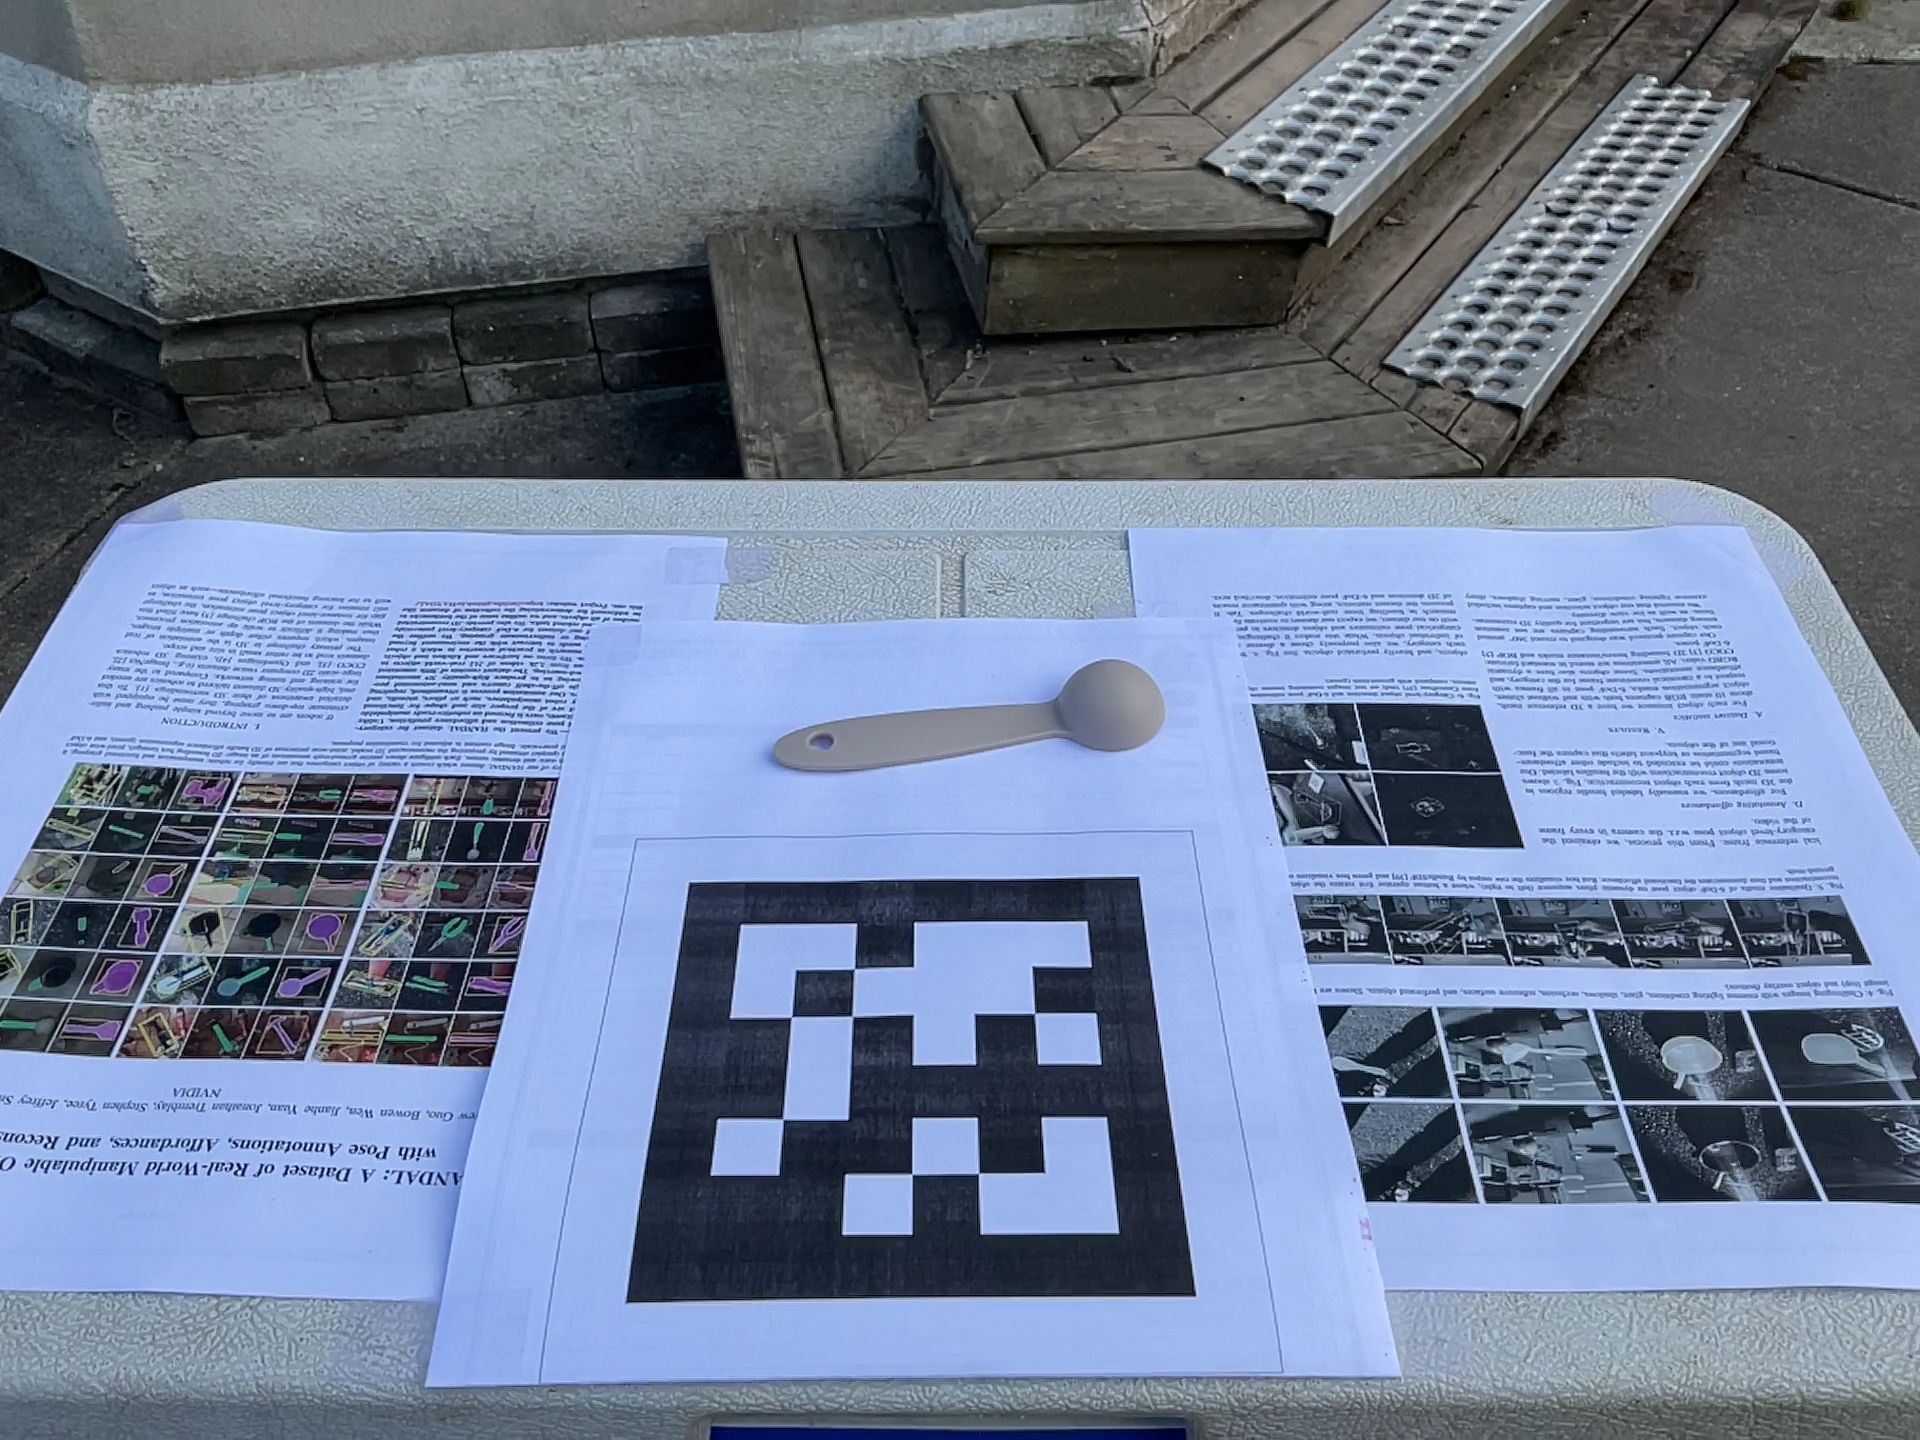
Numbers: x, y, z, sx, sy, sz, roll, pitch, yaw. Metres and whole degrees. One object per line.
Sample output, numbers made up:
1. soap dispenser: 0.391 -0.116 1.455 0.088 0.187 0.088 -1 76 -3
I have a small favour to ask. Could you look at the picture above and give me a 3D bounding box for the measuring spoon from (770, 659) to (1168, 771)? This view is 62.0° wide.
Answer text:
1. measuring spoon: 0.003 -0.002 0.489 0.124 0.018 0.034 -7 46 -7
